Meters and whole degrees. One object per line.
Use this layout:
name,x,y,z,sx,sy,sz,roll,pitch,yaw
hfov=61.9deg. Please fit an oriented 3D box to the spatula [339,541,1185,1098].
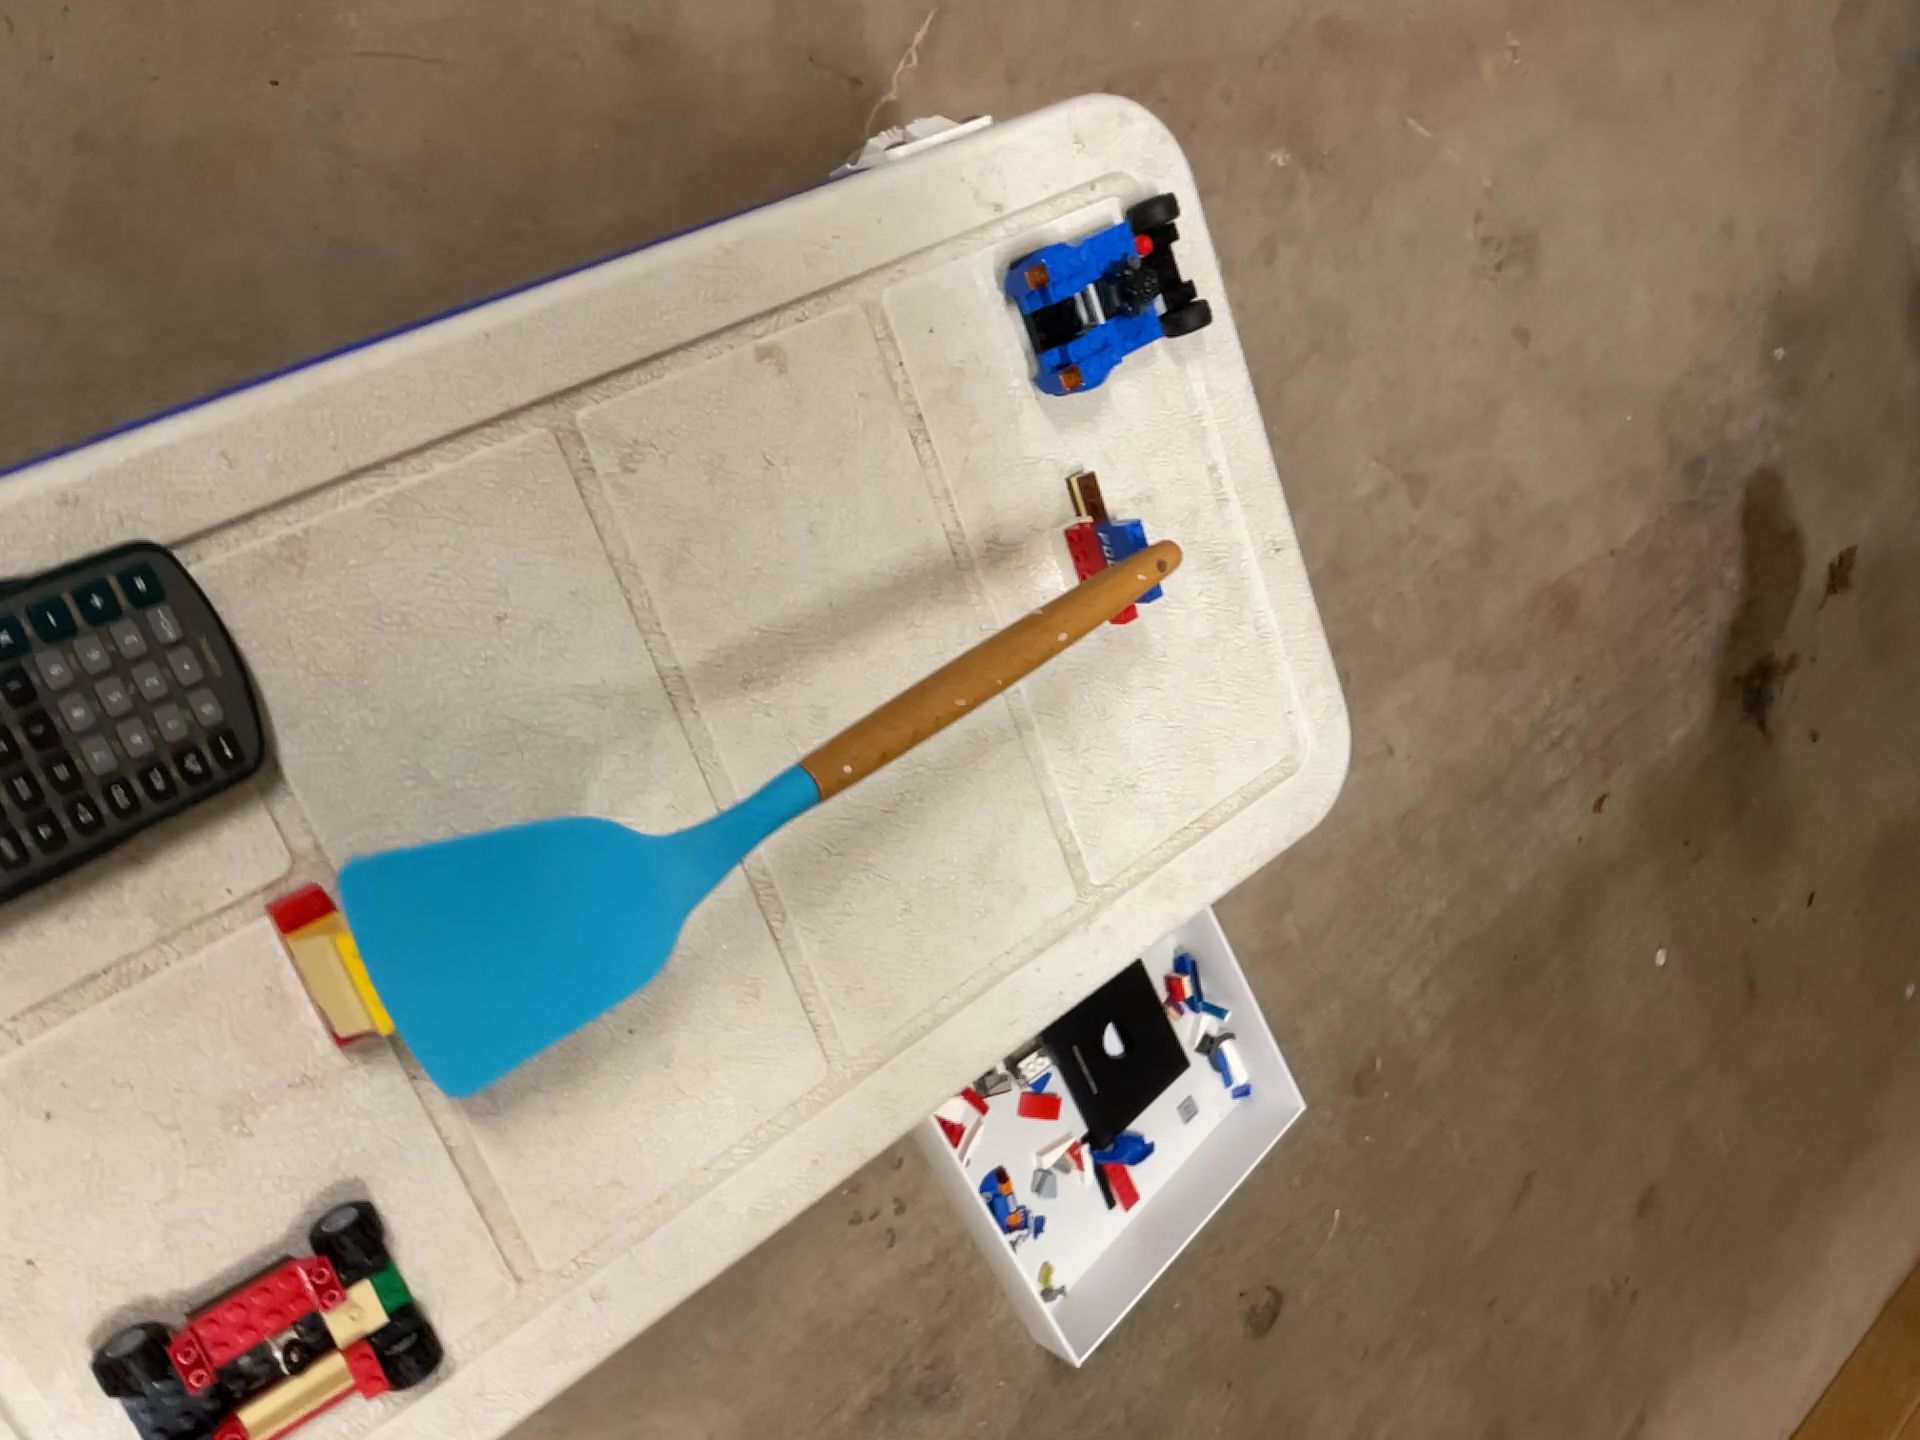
spatula,-0.038,0.007,0.527,0.318,0.044,0.082,-32,110,-33
